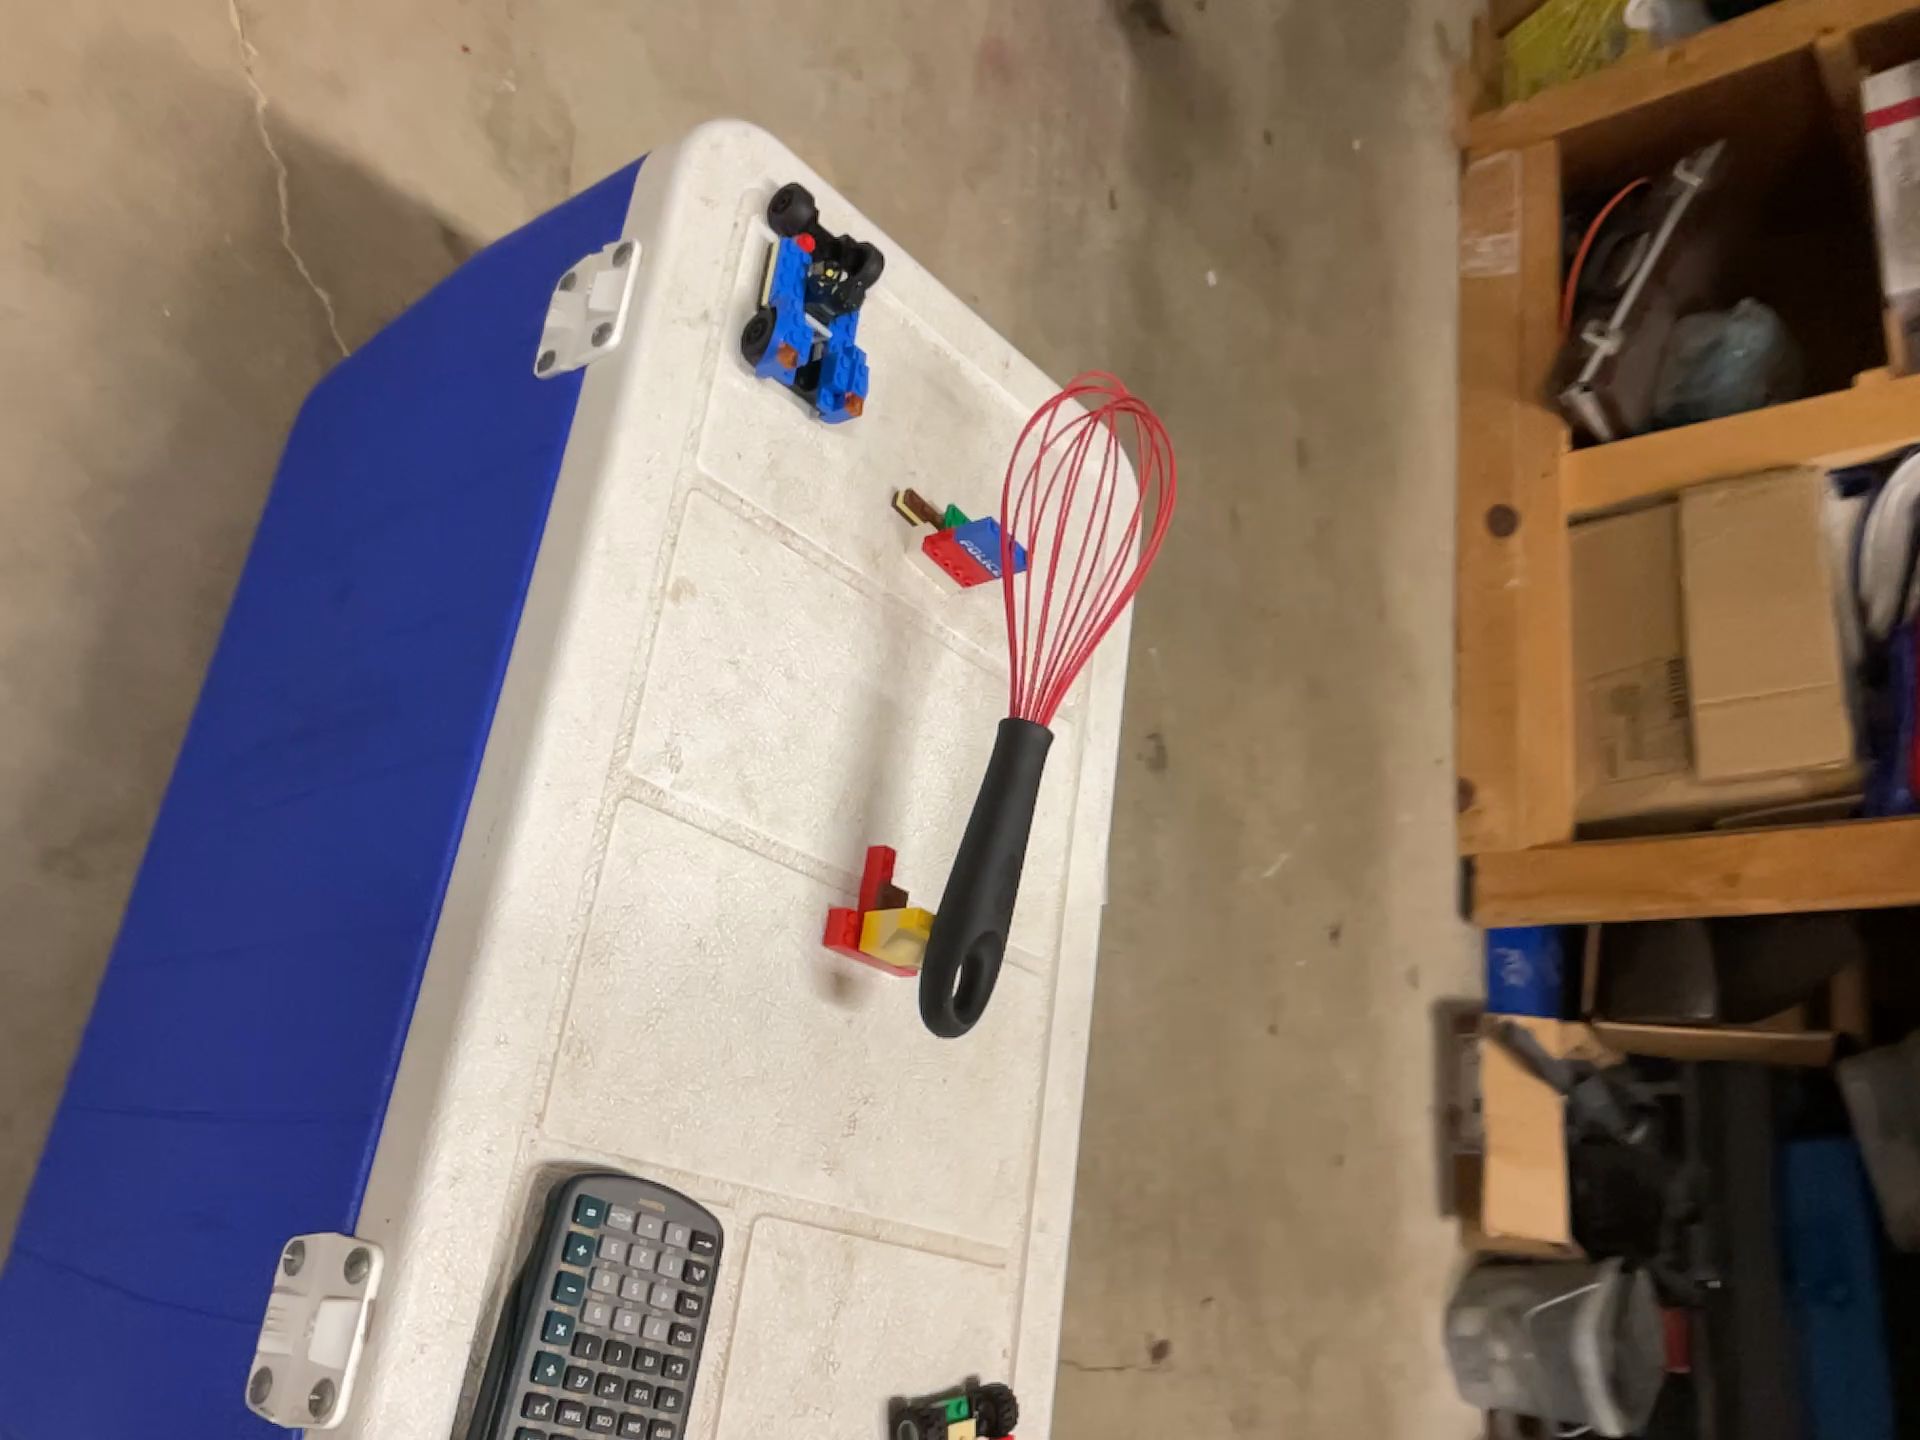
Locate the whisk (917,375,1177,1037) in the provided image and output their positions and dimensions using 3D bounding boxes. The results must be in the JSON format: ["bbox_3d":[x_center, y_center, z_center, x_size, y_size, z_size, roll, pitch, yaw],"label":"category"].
[{"bbox_3d":[0.032,-0.014,0.661,0.073,0.073,0.296,35,65,-44],"label":"whisk"}]
